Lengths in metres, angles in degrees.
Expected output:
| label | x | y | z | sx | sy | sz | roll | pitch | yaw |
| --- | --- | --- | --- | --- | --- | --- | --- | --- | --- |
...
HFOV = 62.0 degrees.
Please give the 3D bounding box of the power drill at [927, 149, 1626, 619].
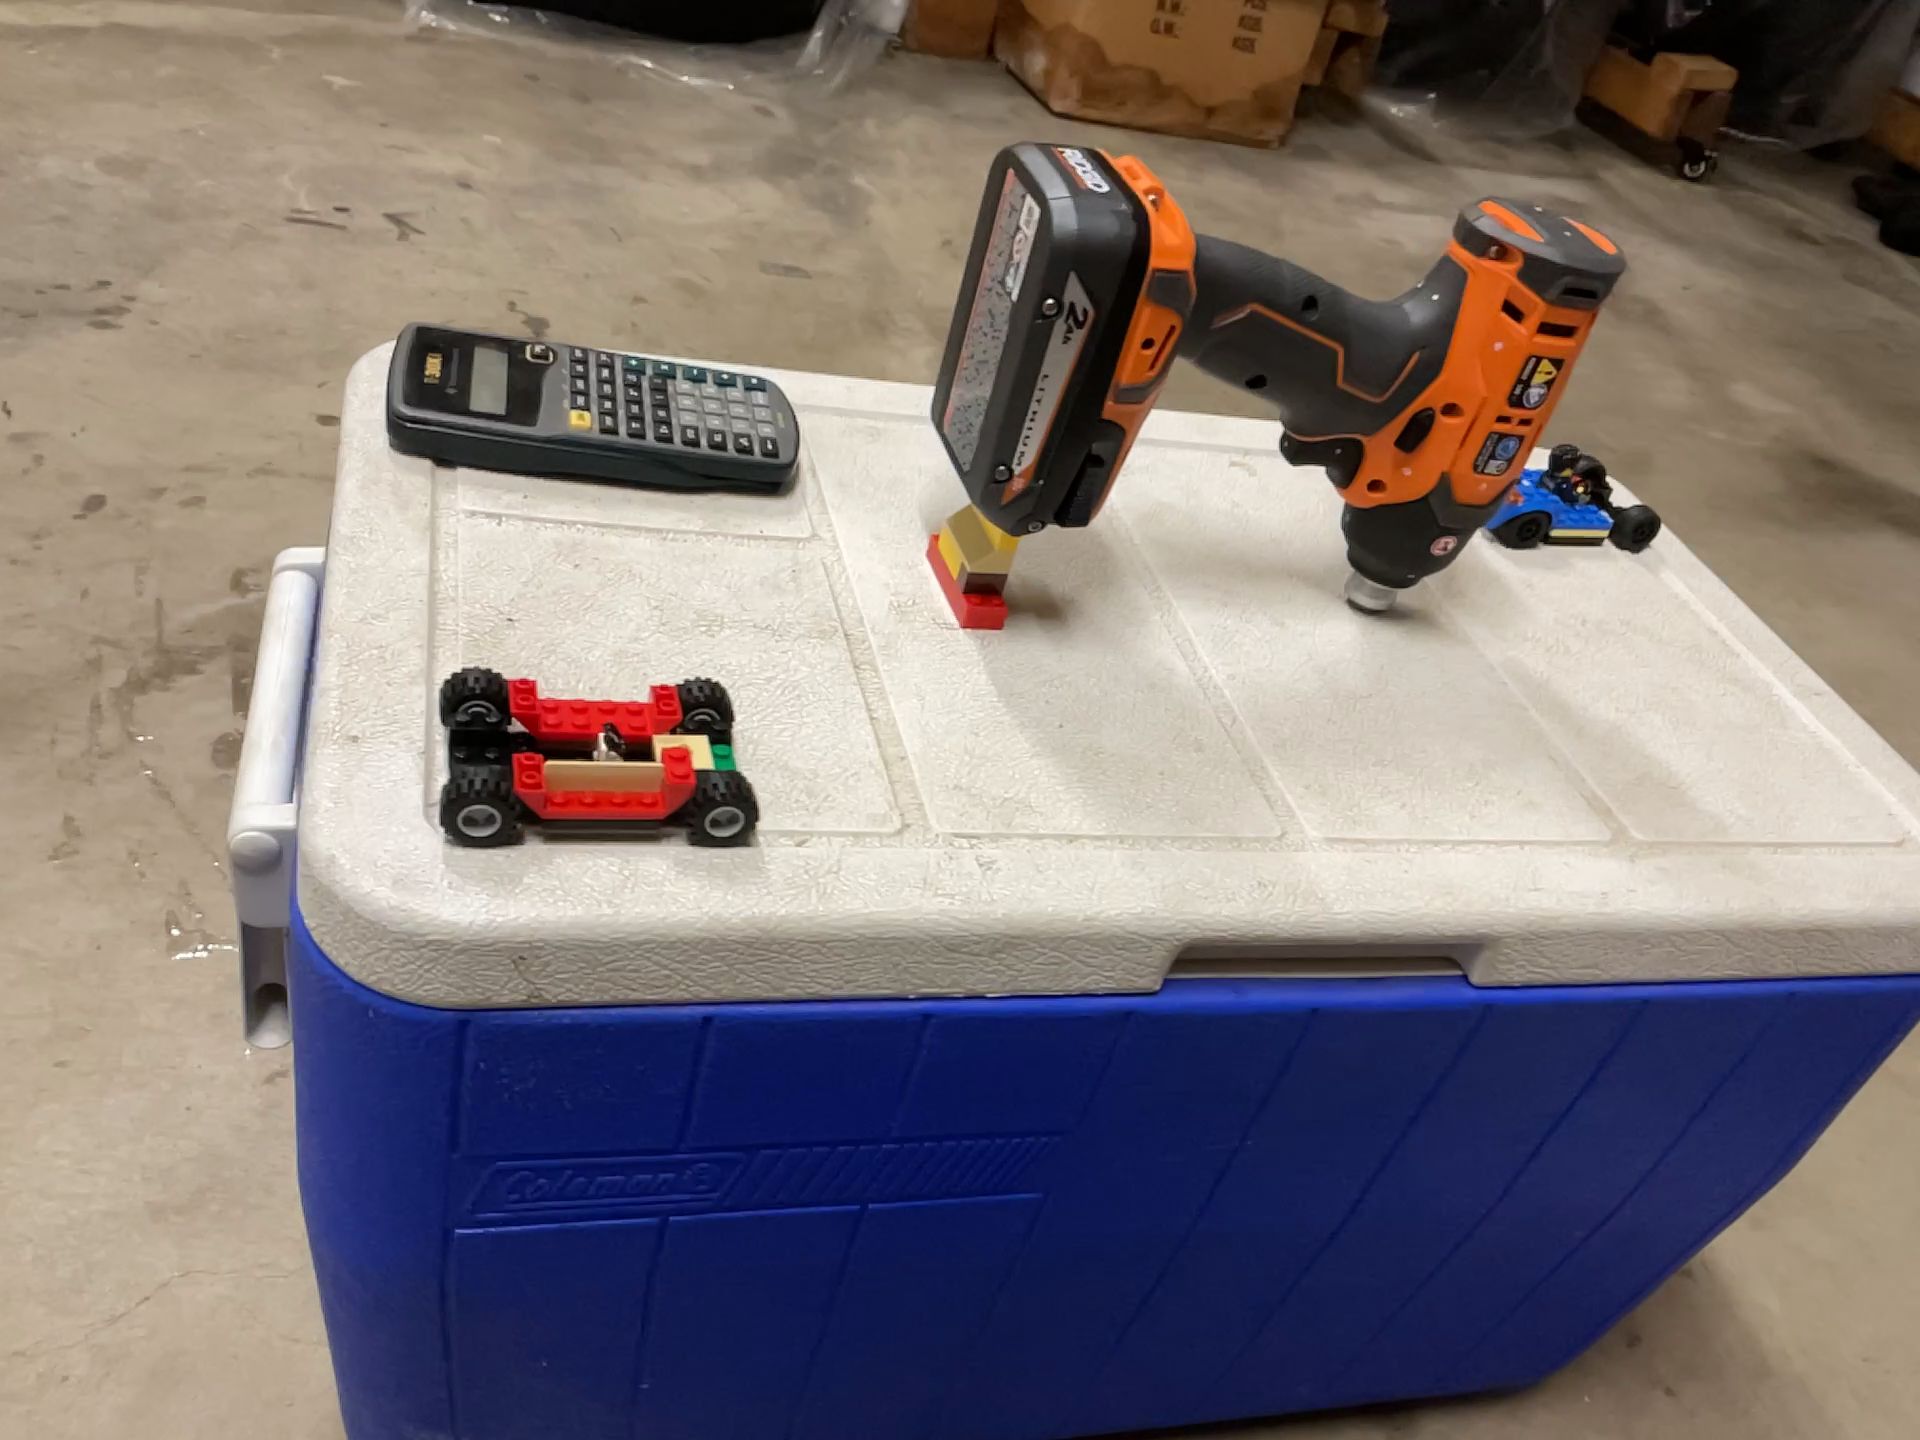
| label | x | y | z | sx | sy | sz | roll | pitch | yaw |
| --- | --- | --- | --- | --- | --- | --- | --- | --- | --- |
| power drill | 0.109 | -0.112 | 0.578 | 0.226 | 0.164 | 0.084 | 2 | 38 | -20 |
